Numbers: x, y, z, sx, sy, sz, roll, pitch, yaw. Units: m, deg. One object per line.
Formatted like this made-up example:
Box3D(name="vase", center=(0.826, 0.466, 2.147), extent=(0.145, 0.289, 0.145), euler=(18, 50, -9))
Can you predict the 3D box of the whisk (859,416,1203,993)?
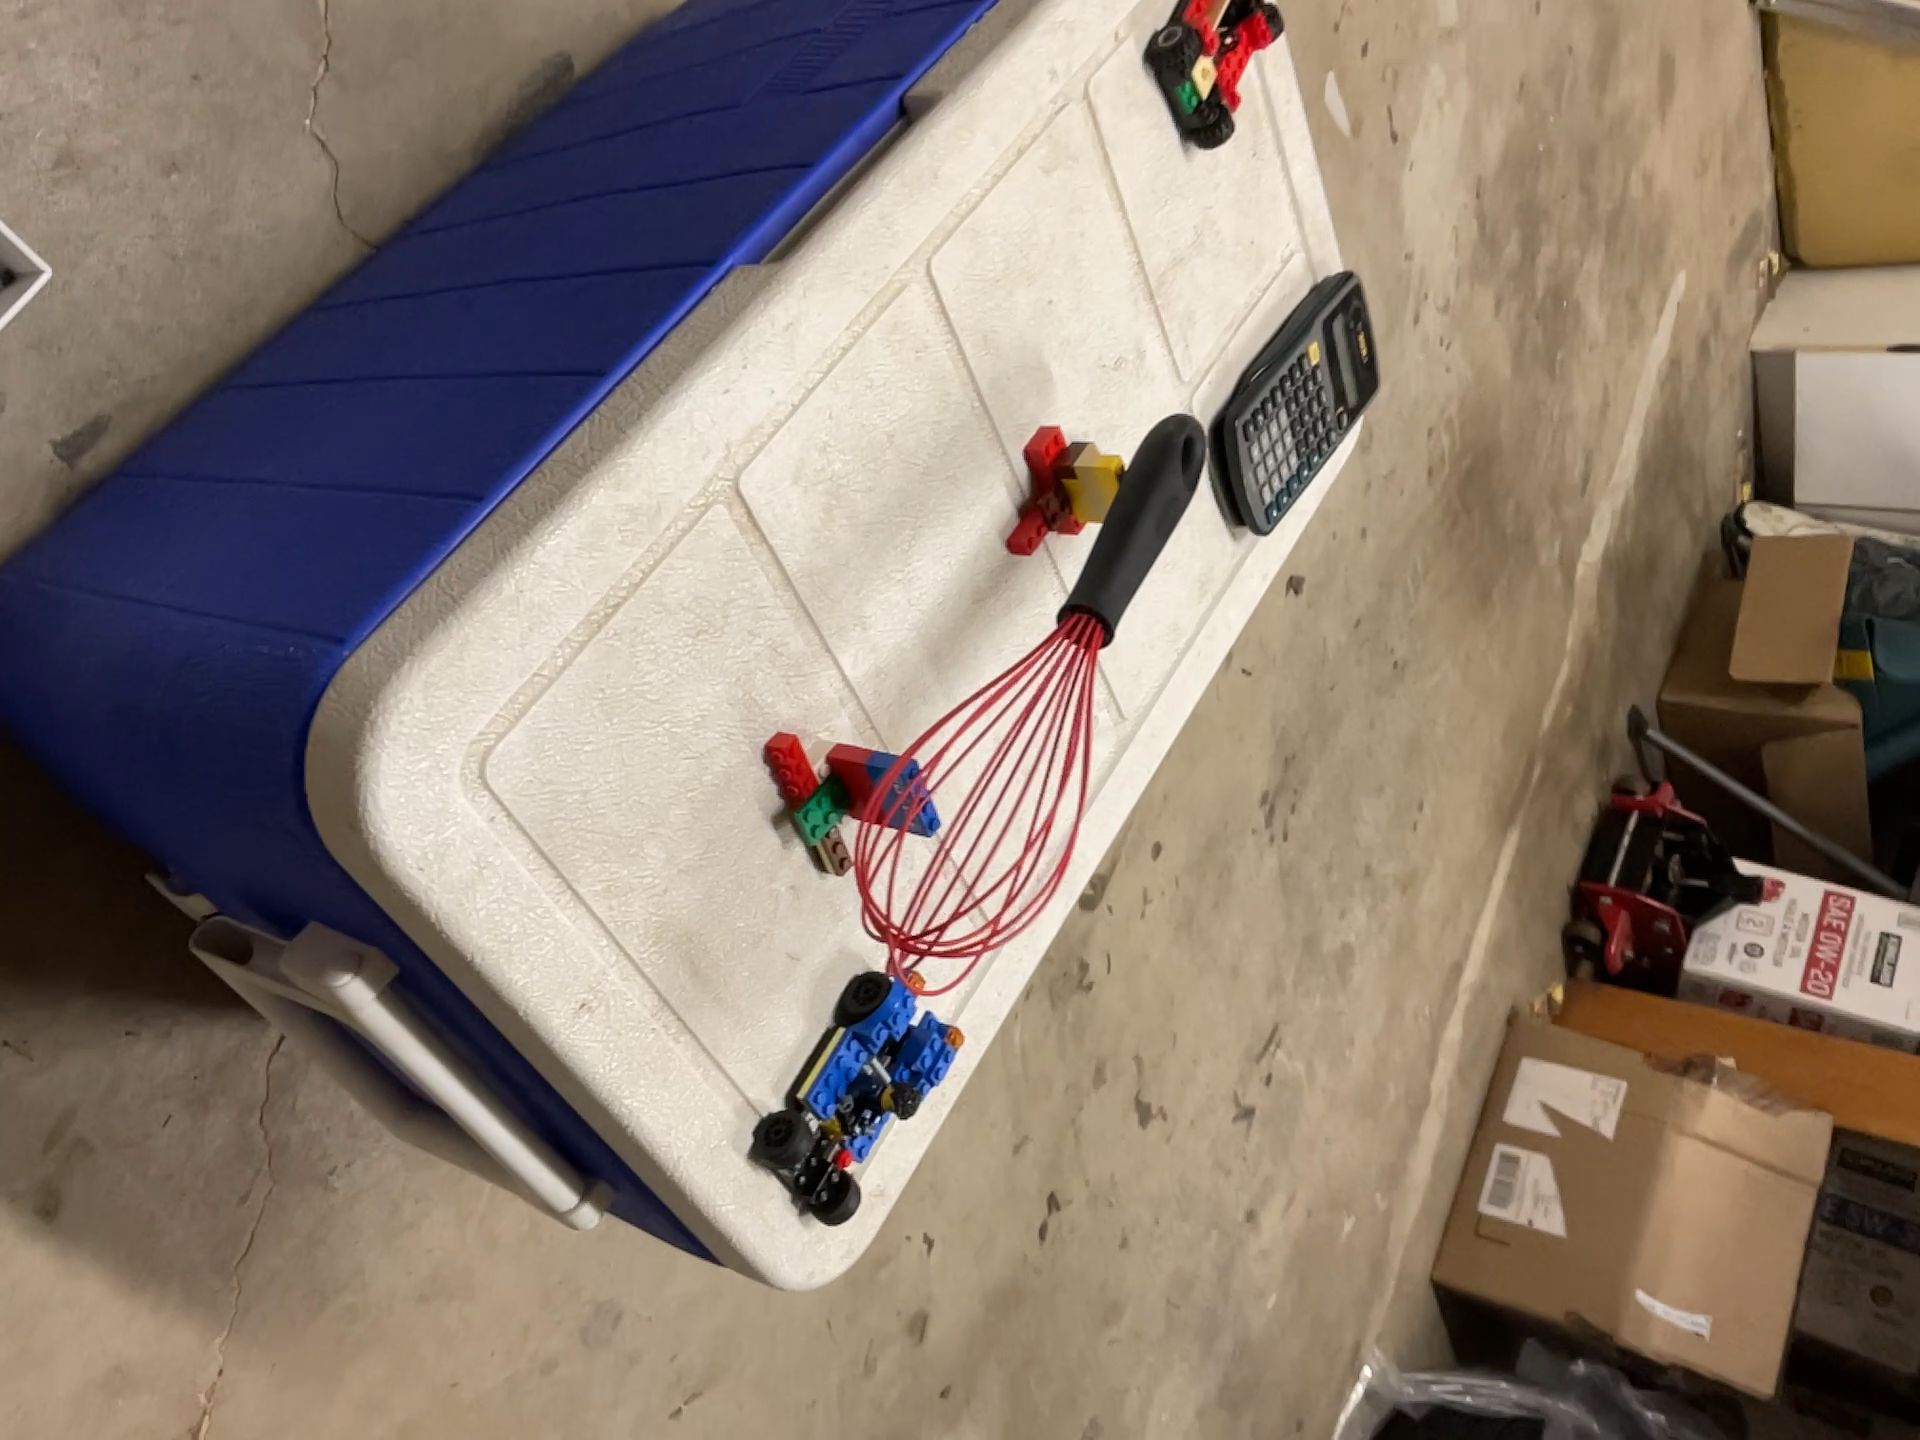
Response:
Box3D(name="whisk", center=(0.039, -0.022, 0.595), extent=(0.073, 0.073, 0.296), euler=(61, 43, -35))
